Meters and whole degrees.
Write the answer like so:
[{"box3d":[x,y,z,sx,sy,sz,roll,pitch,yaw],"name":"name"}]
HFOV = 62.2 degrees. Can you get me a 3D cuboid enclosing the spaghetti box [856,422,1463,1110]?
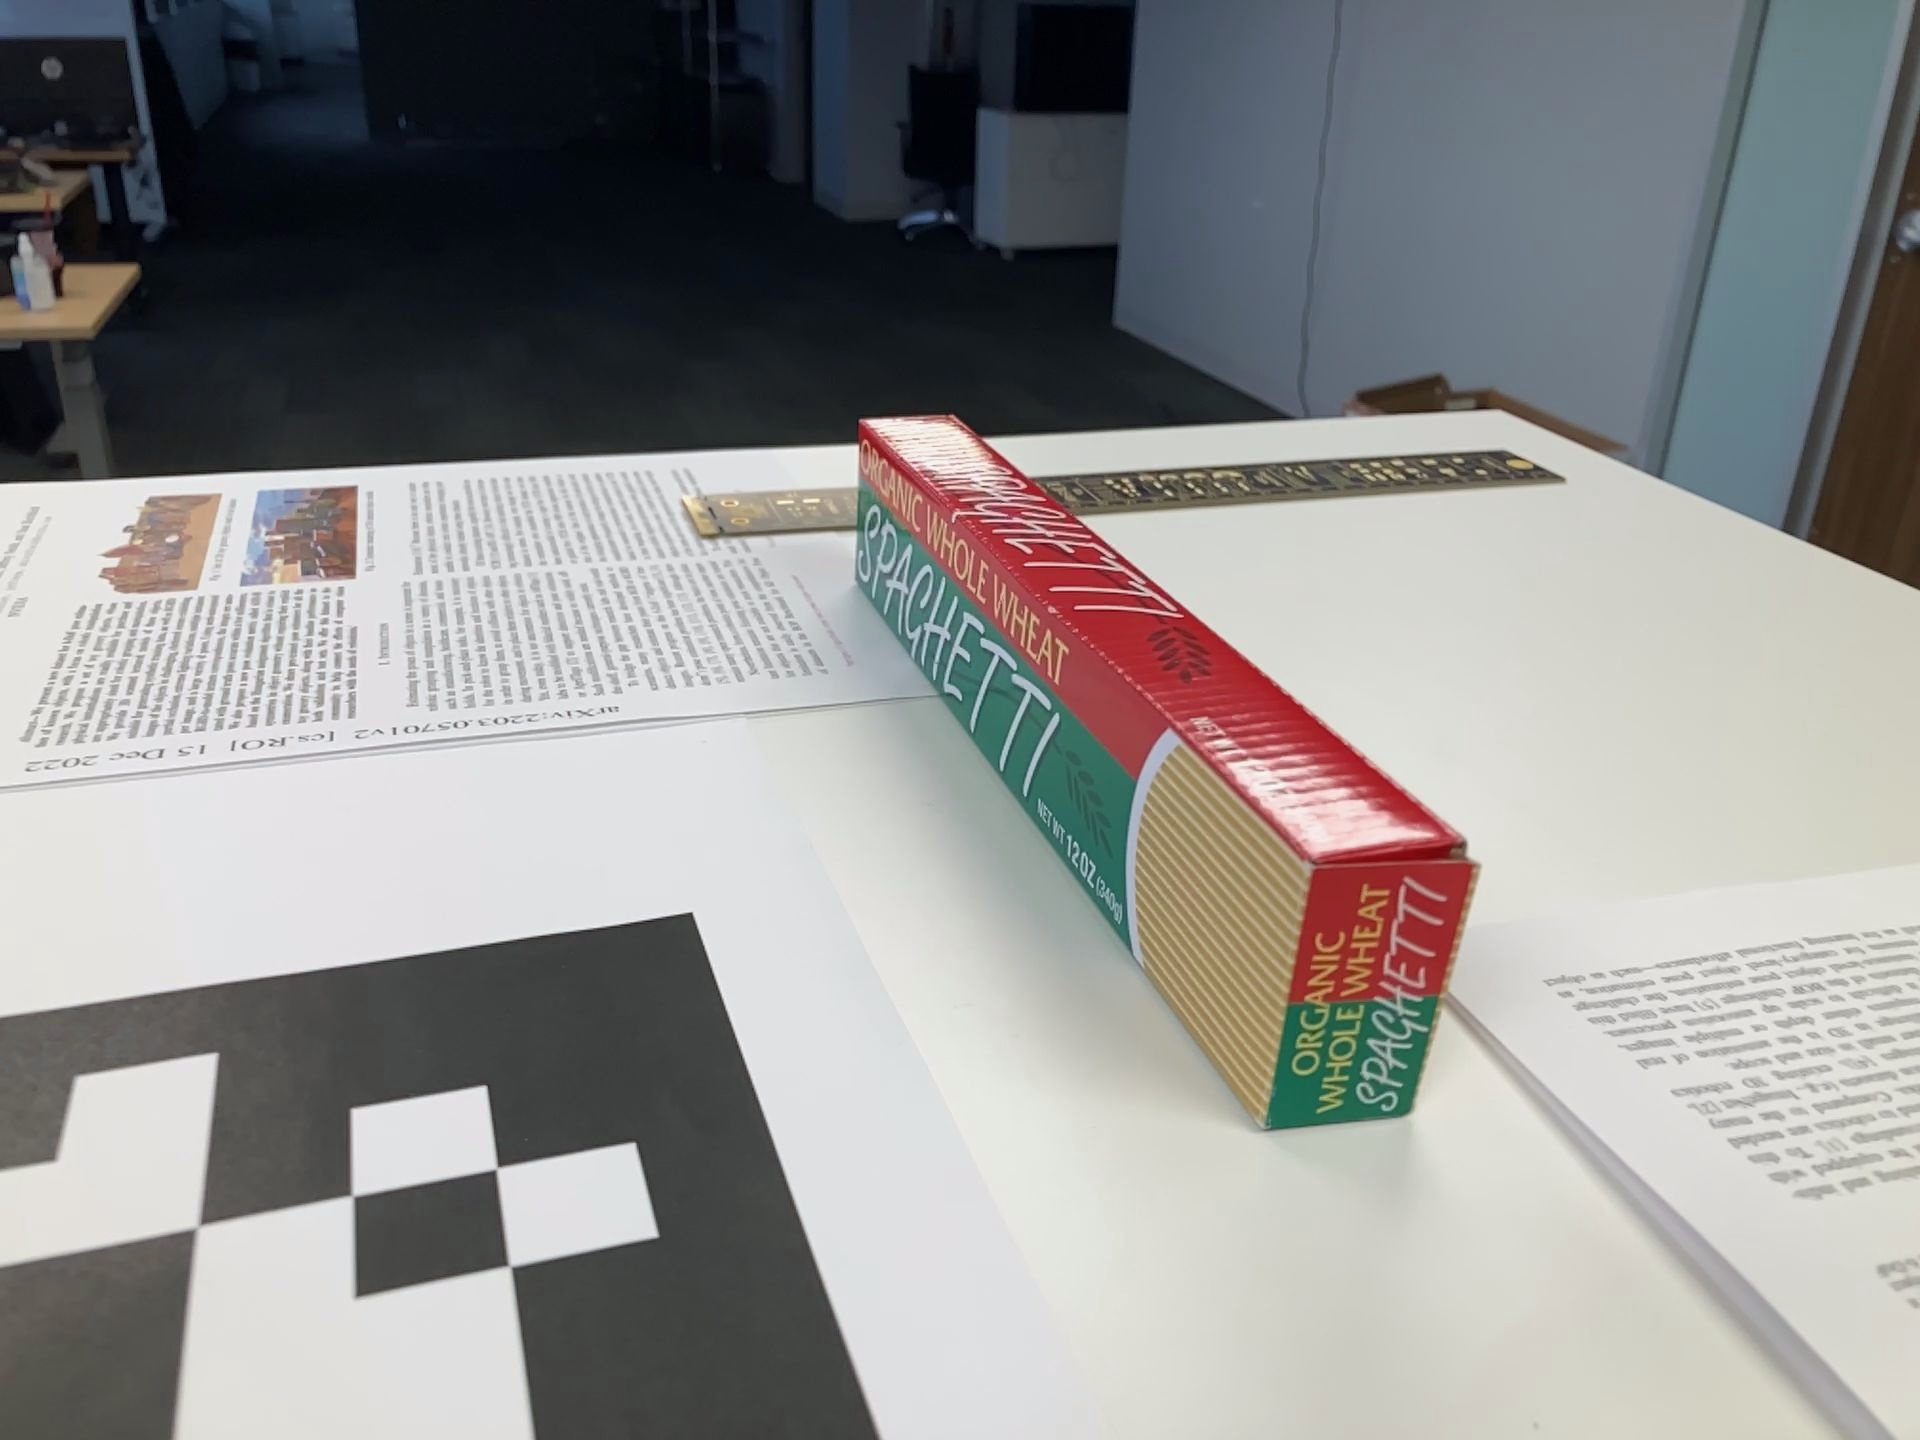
[{"box3d":[0.023,-0.011,0.351,0.028,0.050,0.250,-4,26,-19],"name":"spaghetti box"}]
